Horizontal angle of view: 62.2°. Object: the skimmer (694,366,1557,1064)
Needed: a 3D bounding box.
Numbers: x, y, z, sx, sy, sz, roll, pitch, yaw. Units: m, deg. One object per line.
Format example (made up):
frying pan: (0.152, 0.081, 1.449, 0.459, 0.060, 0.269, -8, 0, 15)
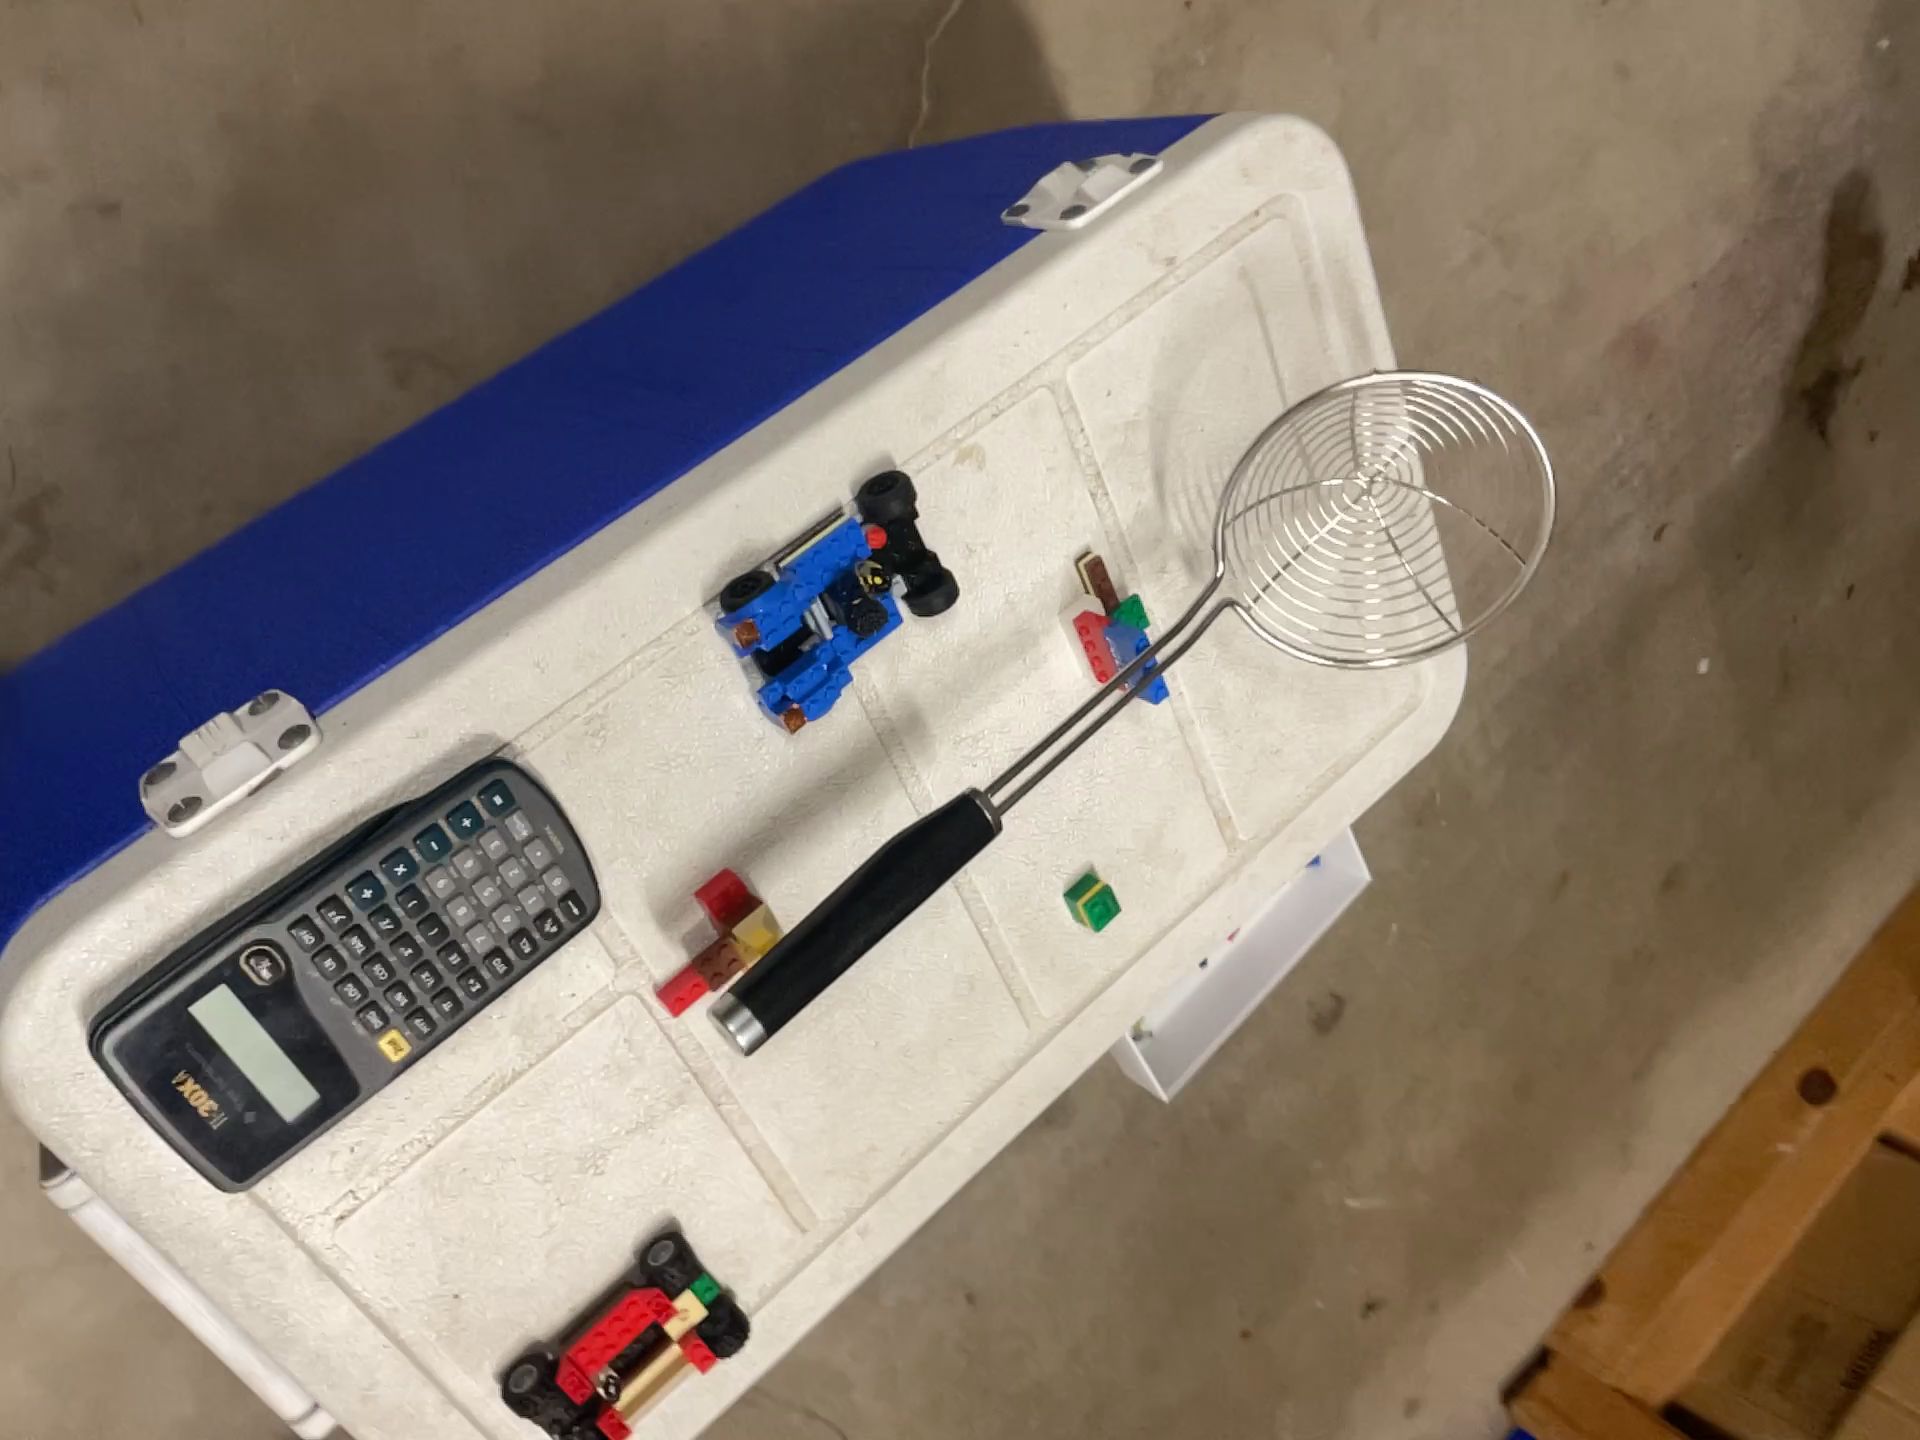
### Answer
skimmer: (0.066, 0.003, 0.566, 0.363, 0.090, 0.127, -40, 122, -20)
